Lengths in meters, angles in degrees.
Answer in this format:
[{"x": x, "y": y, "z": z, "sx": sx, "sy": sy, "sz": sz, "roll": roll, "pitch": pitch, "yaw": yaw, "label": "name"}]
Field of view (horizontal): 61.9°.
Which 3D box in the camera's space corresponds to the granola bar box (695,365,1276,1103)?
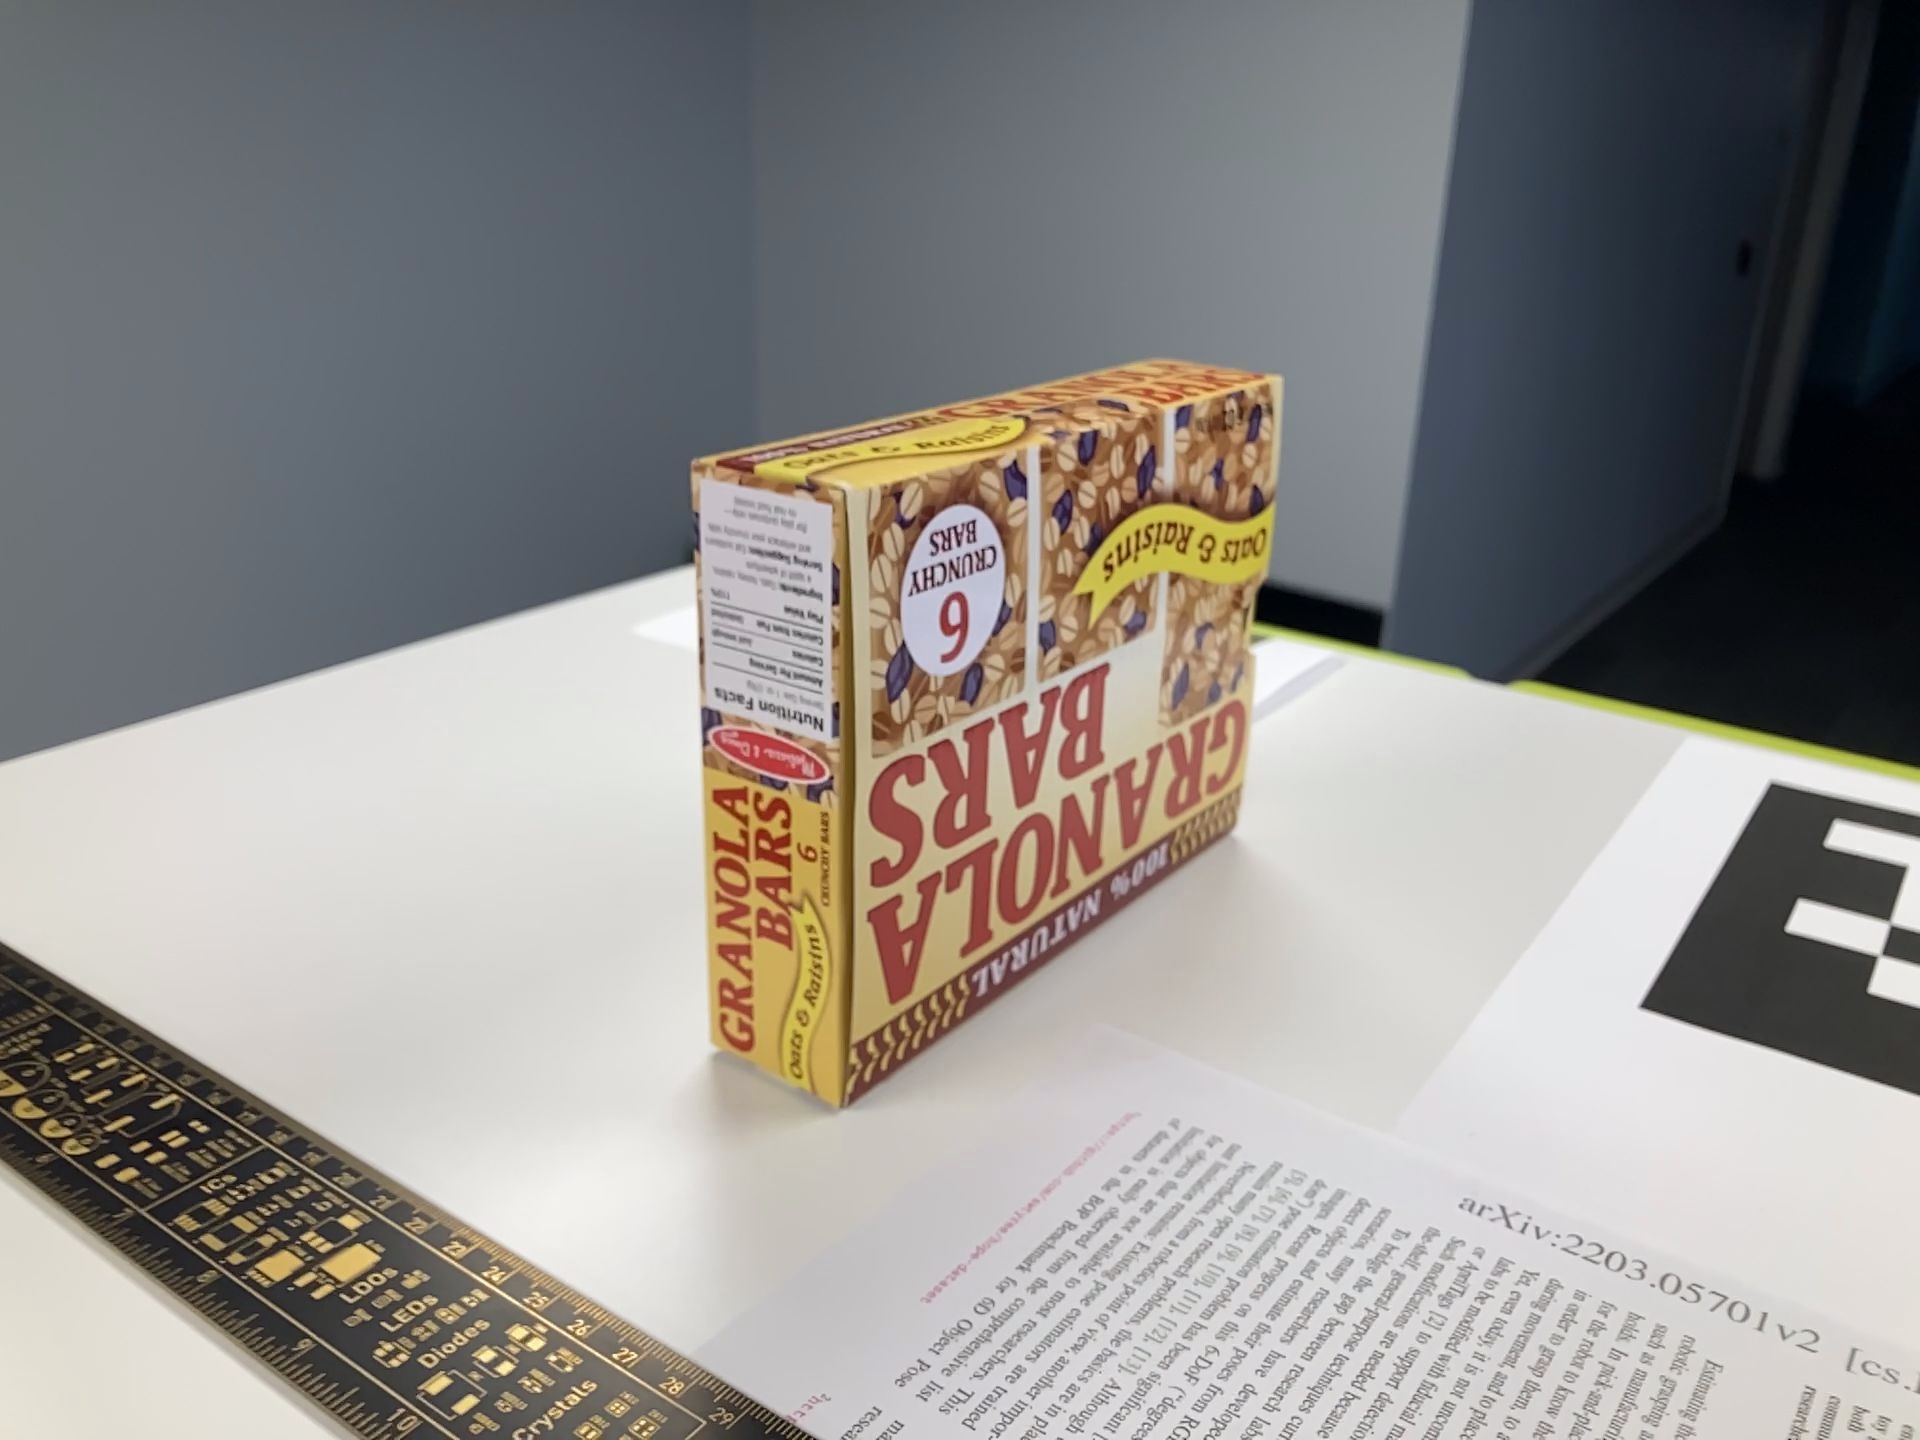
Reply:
[{"x": 0.014, "y": -0.008, "z": 0.362, "sx": 0.039, "sy": 0.124, "sz": 0.165, "roll": 16, "pitch": 26, "yaw": 33, "label": "granola bar box"}]
